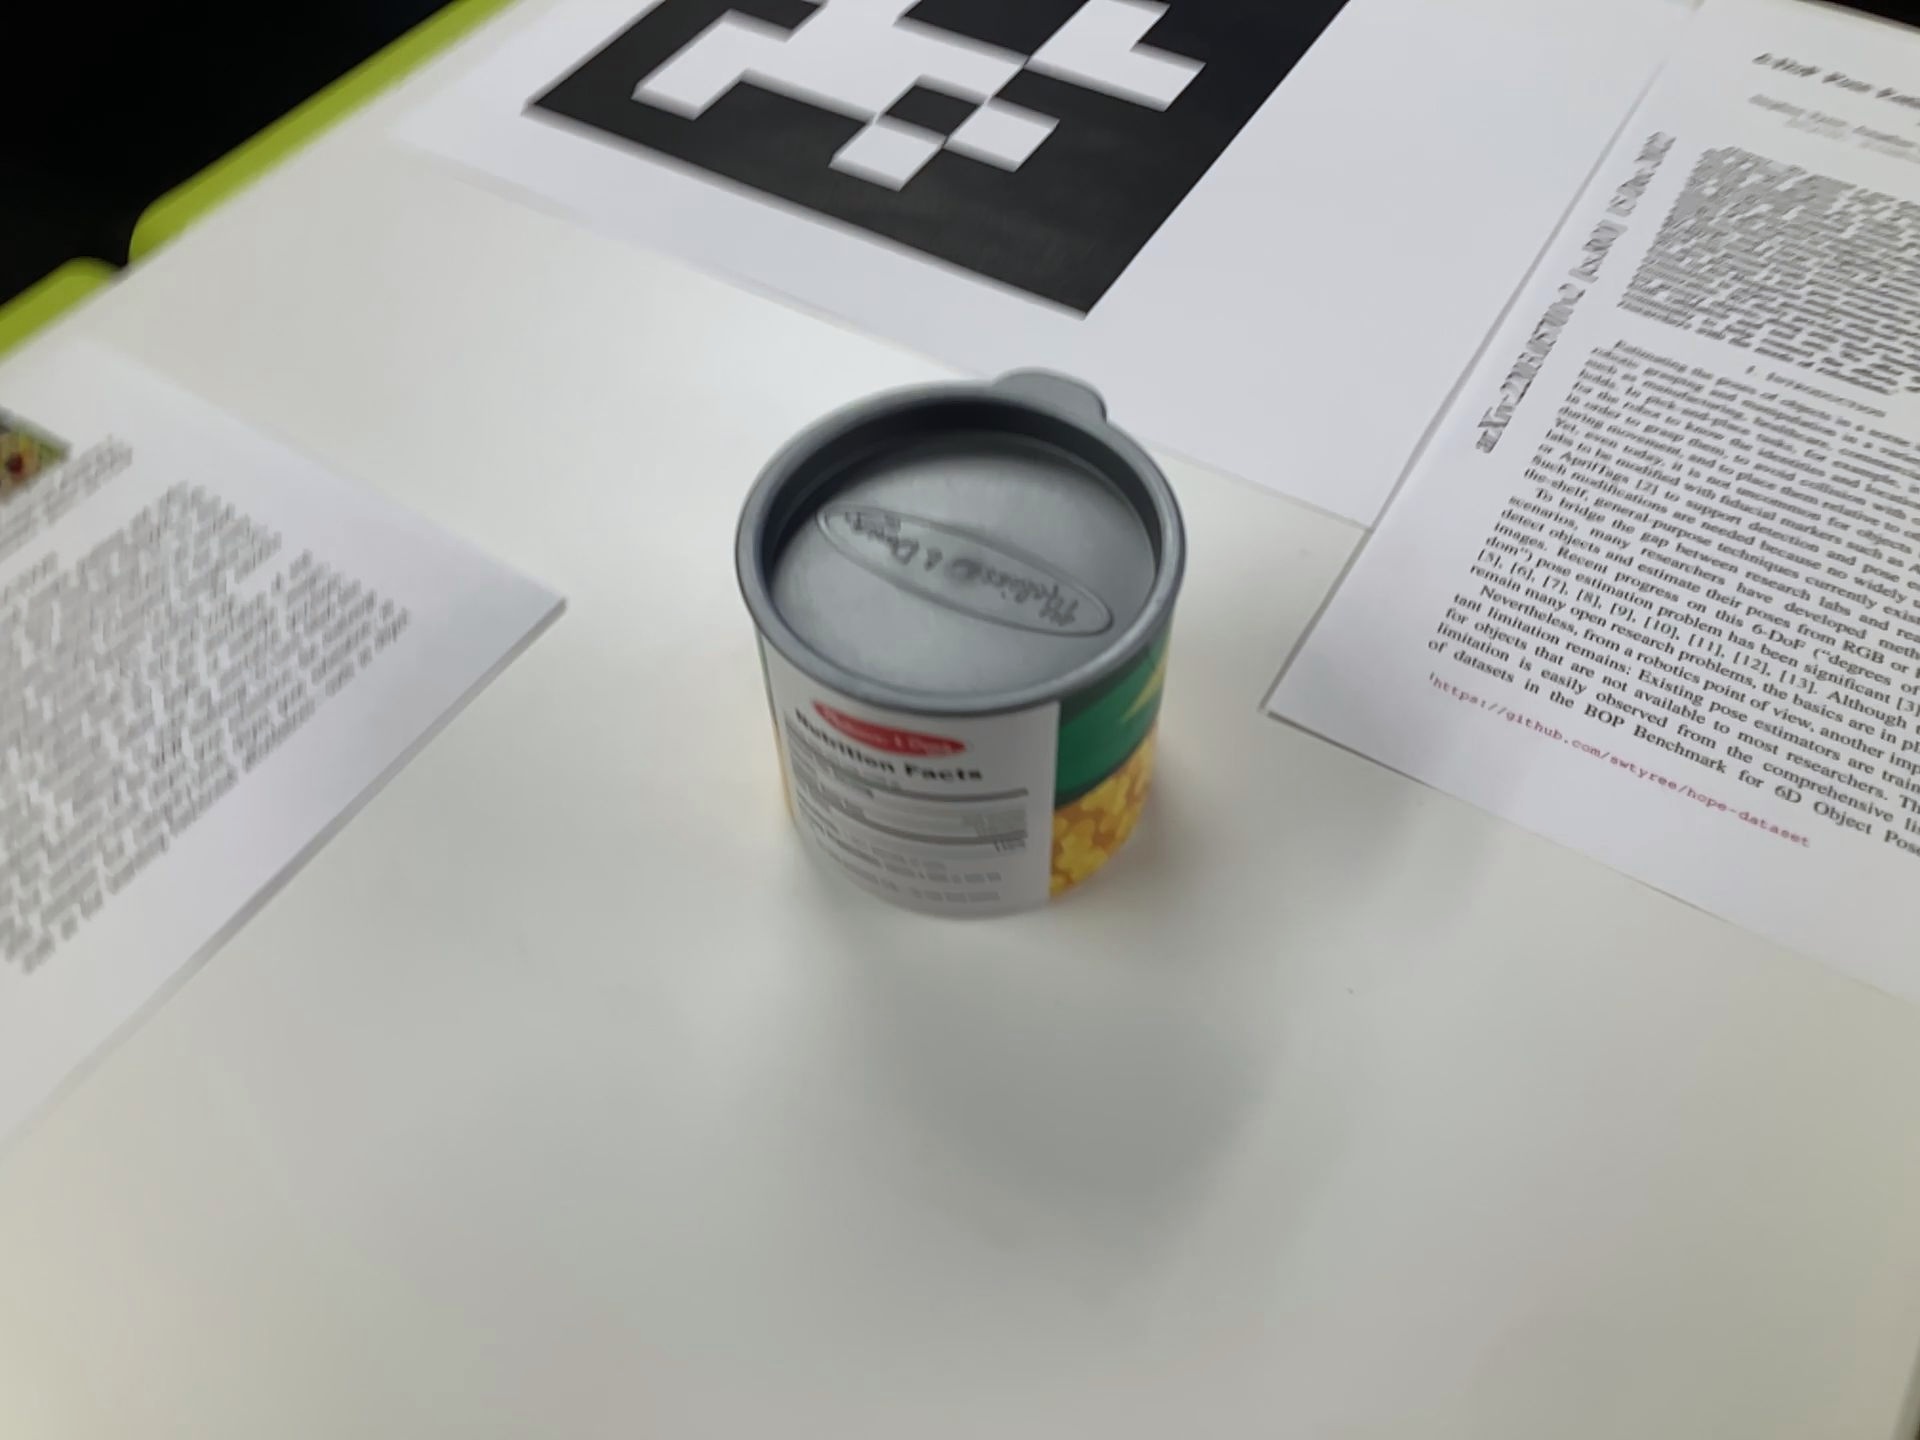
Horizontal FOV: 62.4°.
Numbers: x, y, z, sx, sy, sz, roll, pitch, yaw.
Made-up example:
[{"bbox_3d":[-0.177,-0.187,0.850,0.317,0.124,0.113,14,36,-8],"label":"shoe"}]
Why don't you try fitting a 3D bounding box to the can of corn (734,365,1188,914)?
[{"bbox_3d":[0.002,-0.013,0.256,0.071,0.058,0.071,-1,53,1],"label":"can of corn"}]
